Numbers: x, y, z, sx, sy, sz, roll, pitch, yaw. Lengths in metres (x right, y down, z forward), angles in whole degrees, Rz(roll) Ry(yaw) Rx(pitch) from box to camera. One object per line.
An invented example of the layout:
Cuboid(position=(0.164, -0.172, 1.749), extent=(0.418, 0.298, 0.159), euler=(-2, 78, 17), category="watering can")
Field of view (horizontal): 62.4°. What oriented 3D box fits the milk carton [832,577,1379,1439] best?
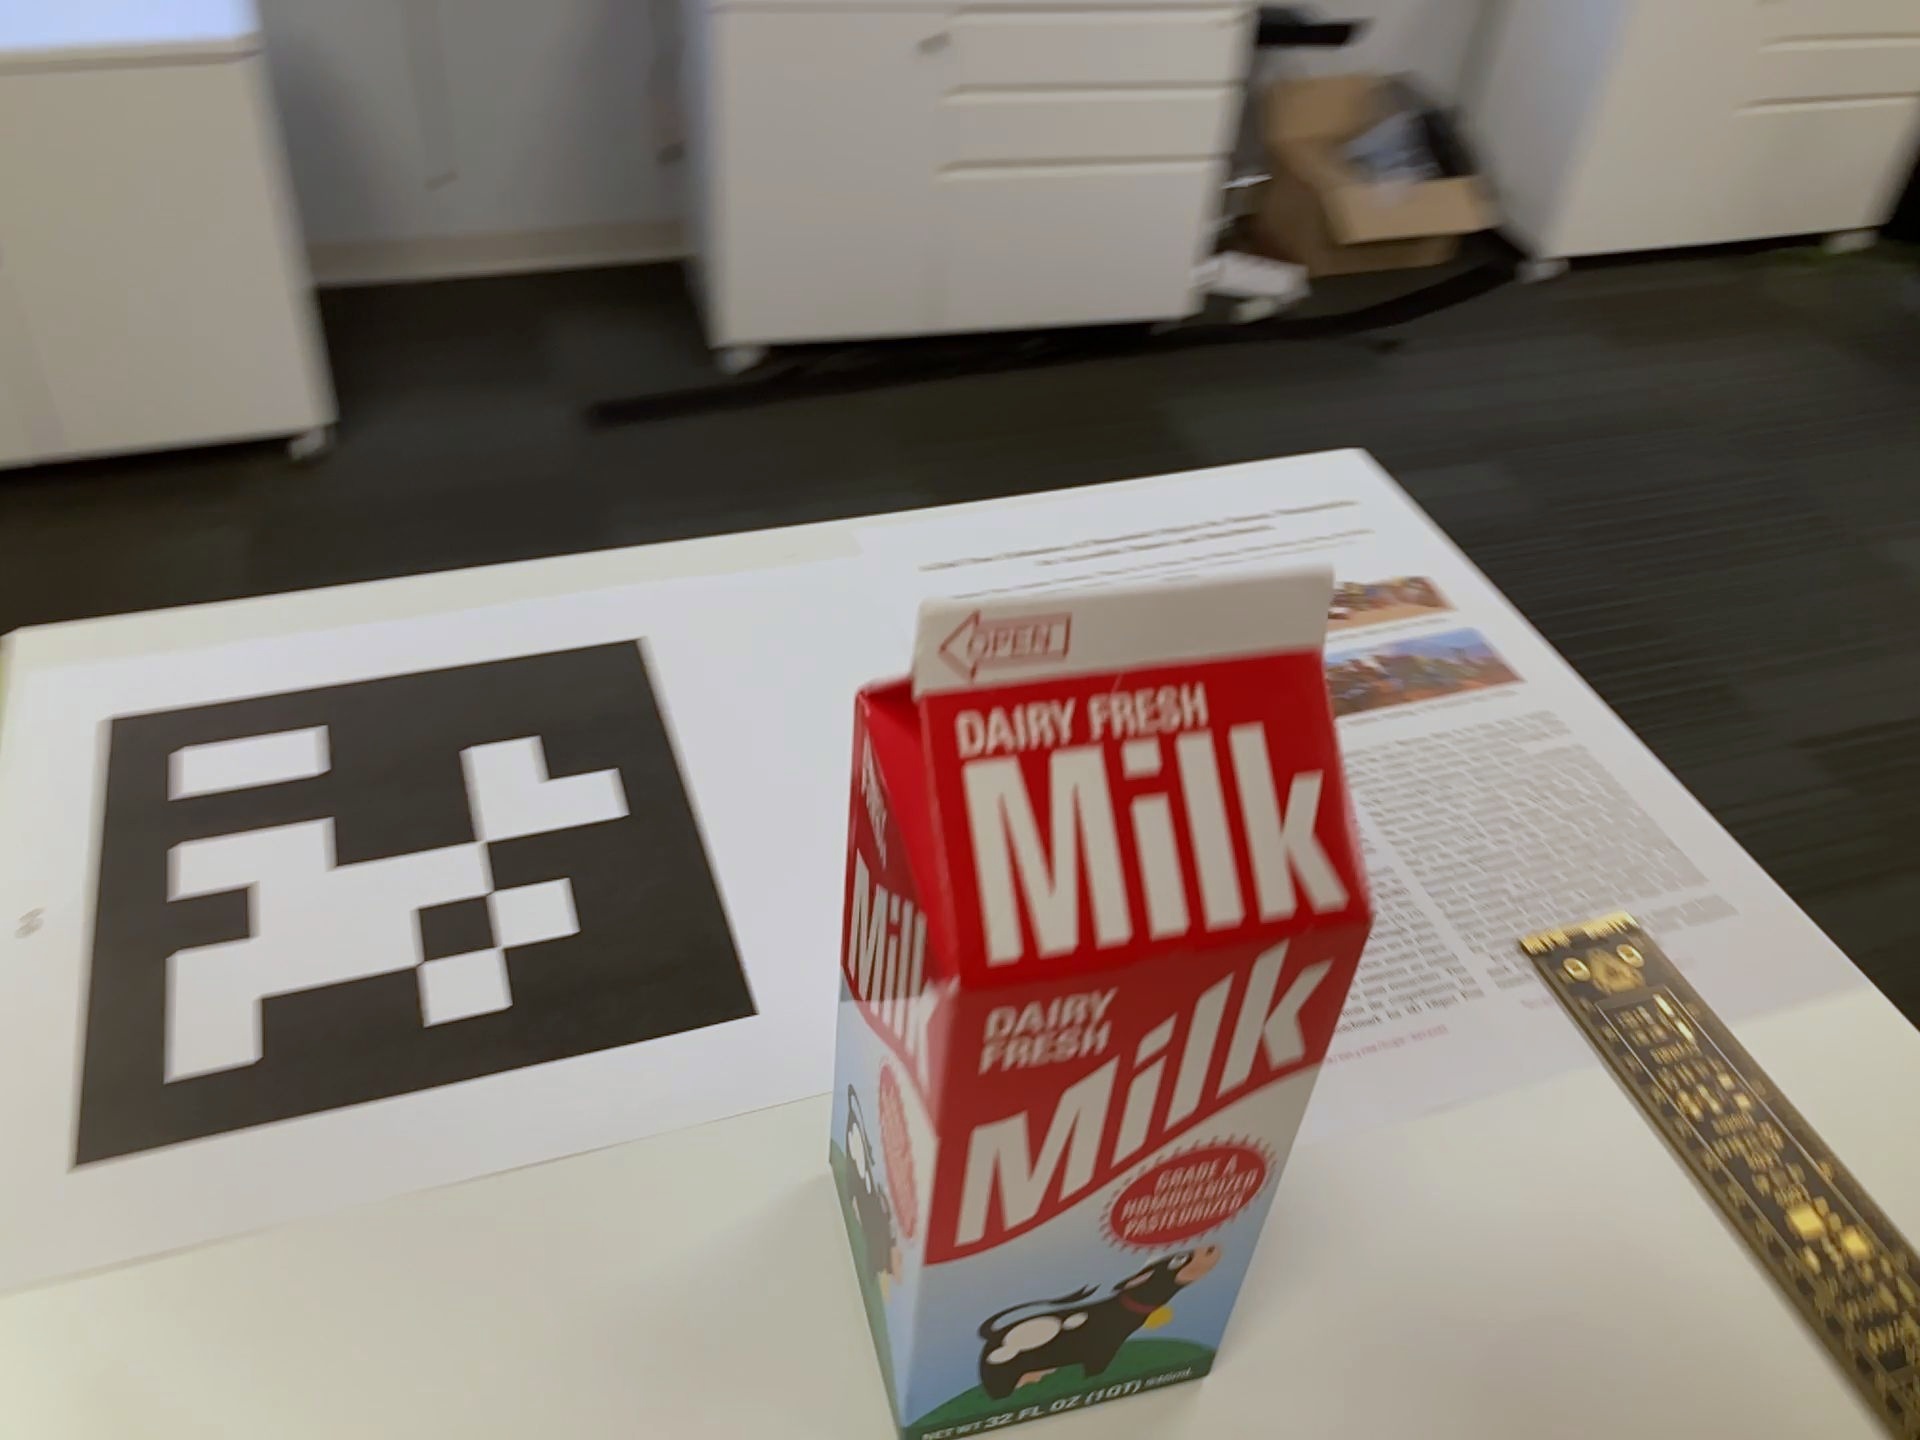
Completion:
Cuboid(position=(0.019, 0.053, 0.300), extent=(0.072, 0.190, 0.073), euler=(-6, 42, -15), category="milk carton")
